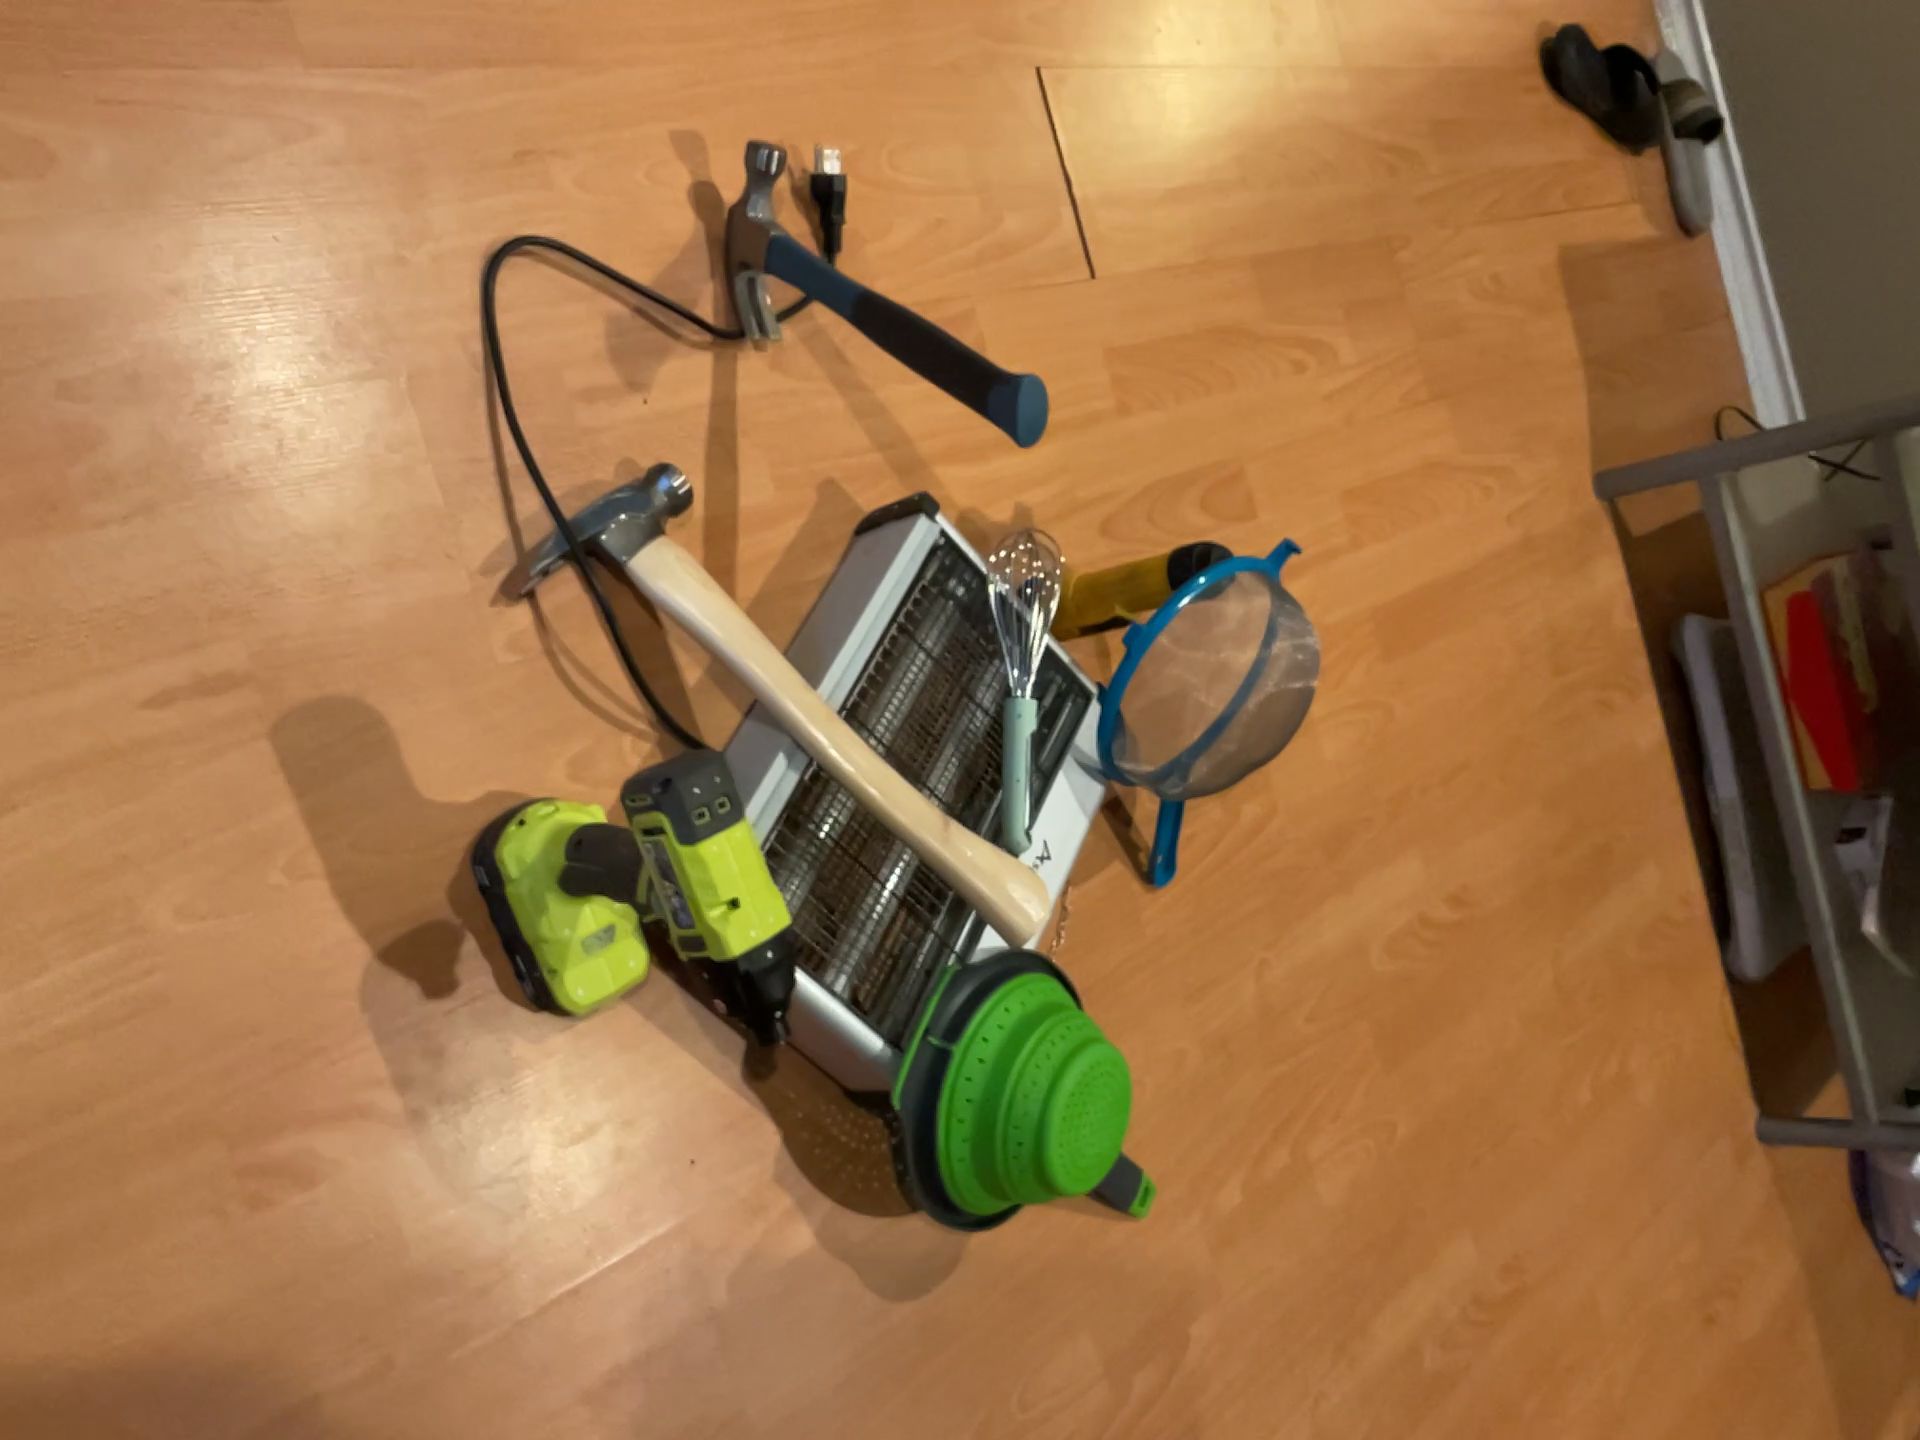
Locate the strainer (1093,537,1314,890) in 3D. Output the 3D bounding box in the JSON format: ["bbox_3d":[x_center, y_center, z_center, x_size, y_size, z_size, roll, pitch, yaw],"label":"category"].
[{"bbox_3d":[0.208,0.033,1.295,0.211,0.095,0.340,-29,139,-31],"label":"strainer"}]

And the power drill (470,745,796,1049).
[{"bbox_3d":[-0.188,0.112,0.948,0.080,0.223,0.171,-27,102,-41],"label":"power drill"}]

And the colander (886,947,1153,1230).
[{"bbox_3d":[0.093,0.312,1.199,0.397,0.094,0.204,48,59,-46],"label":"colander"}]

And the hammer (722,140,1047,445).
[{"bbox_3d":[-0.060,-0.279,1.096,0.033,0.331,0.128,-12,131,-43],"label":"hammer"}]

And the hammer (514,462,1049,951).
[{"bbox_3d":[-0.105,0.006,1.065,0.410,0.038,0.146,44,52,1],"label":"hammer"}]

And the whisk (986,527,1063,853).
[{"bbox_3d":[0.046,-0.024,1.199,0.058,0.059,0.246,23,68,-70],"label":"whisk"}]
